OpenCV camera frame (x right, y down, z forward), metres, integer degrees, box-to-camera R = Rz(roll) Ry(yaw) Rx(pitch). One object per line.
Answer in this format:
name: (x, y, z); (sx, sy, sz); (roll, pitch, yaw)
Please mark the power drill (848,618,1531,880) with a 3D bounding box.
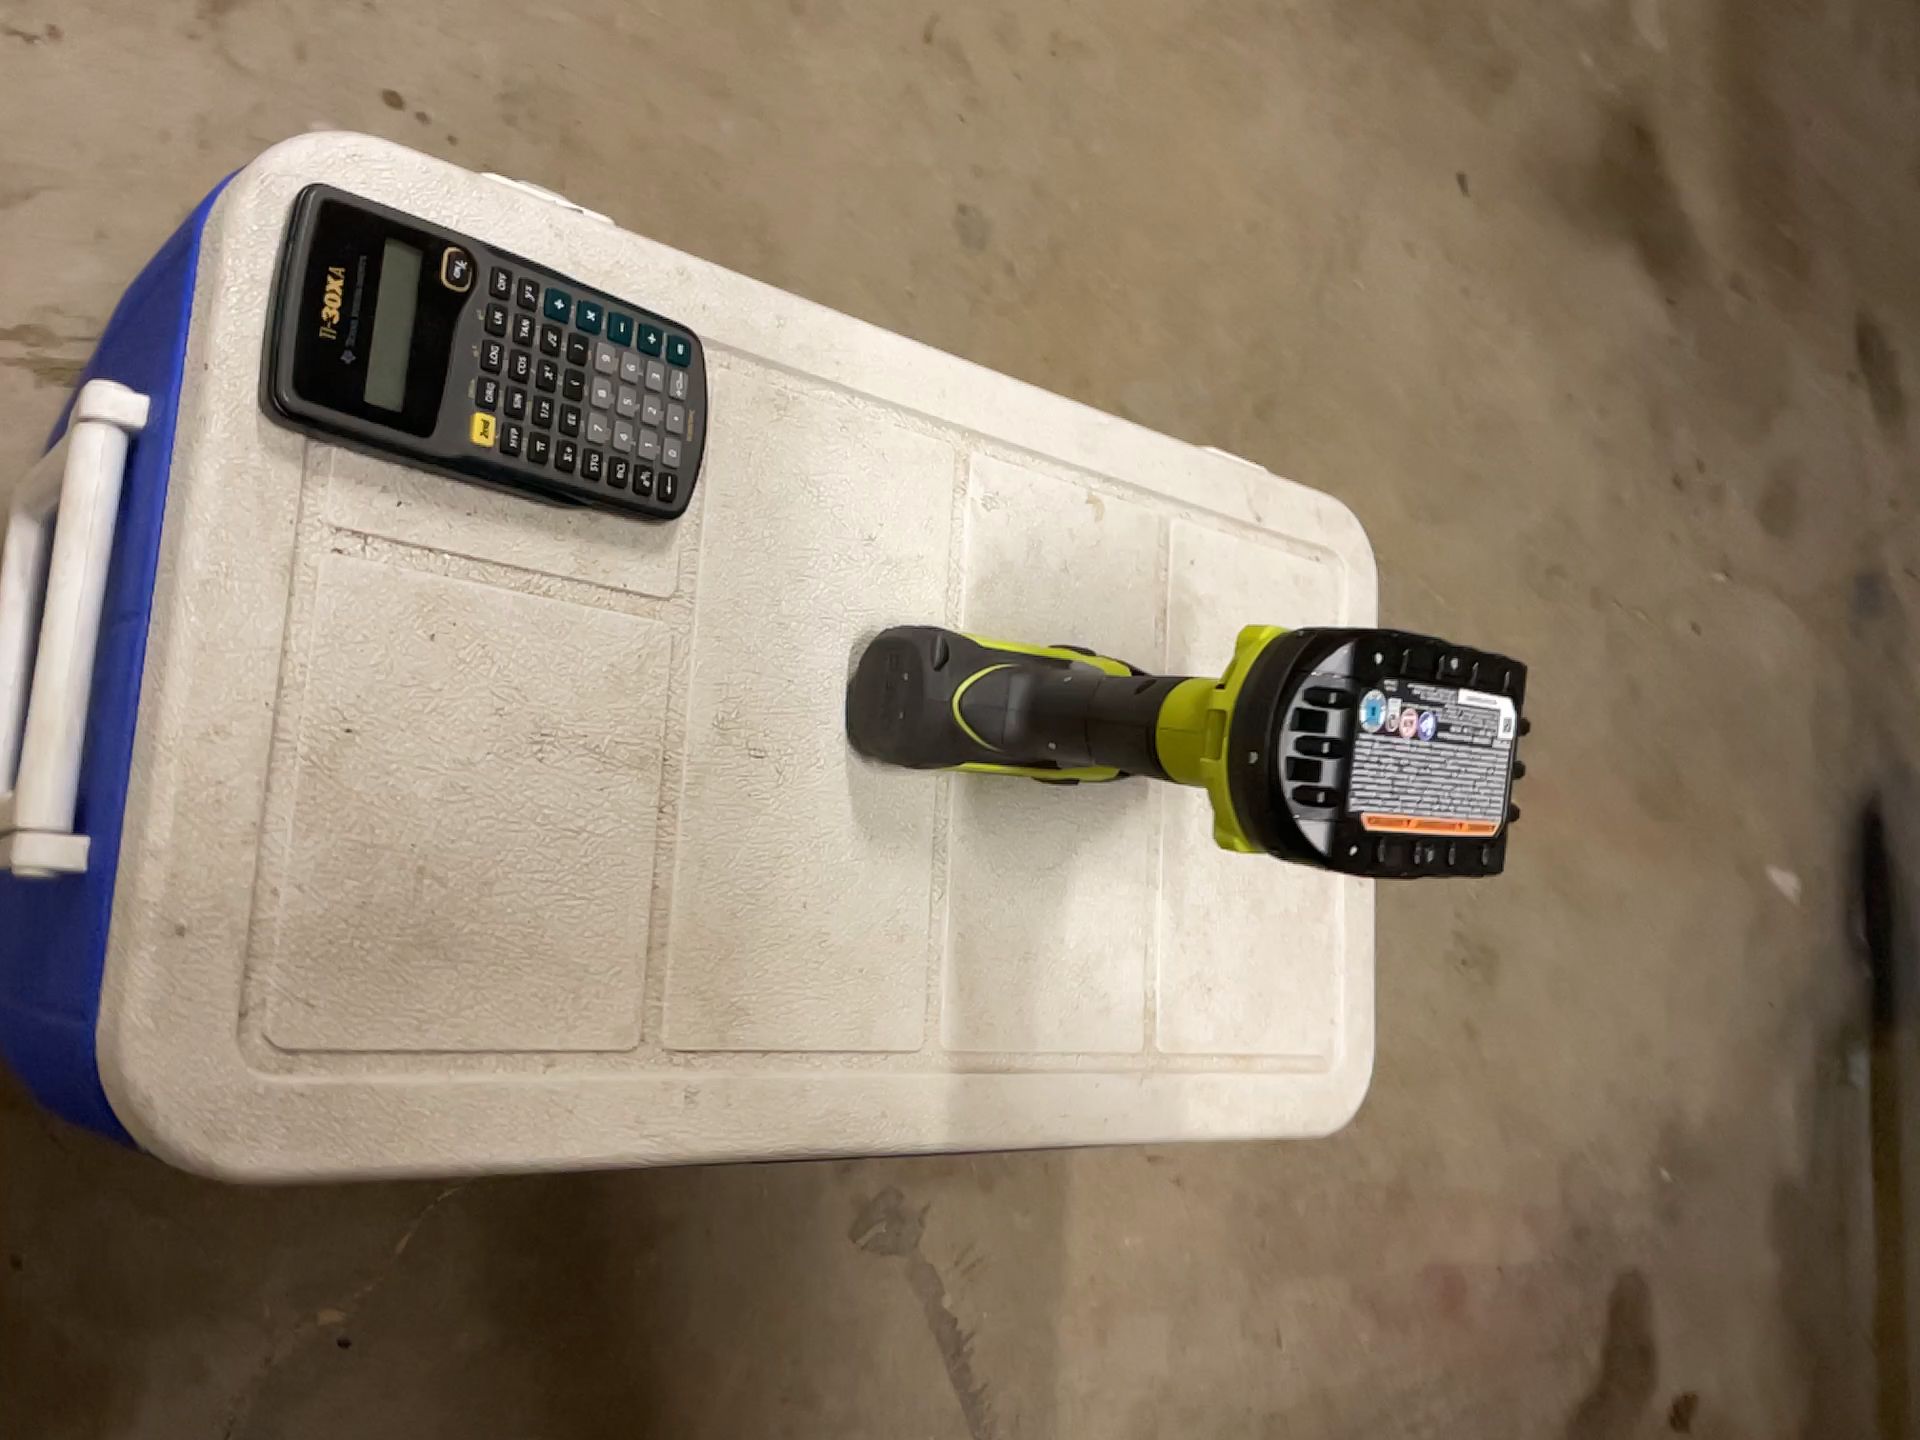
power drill: (0.089, 0.003, 0.603); (0.171, 0.223, 0.080); (7, 90, -40)
